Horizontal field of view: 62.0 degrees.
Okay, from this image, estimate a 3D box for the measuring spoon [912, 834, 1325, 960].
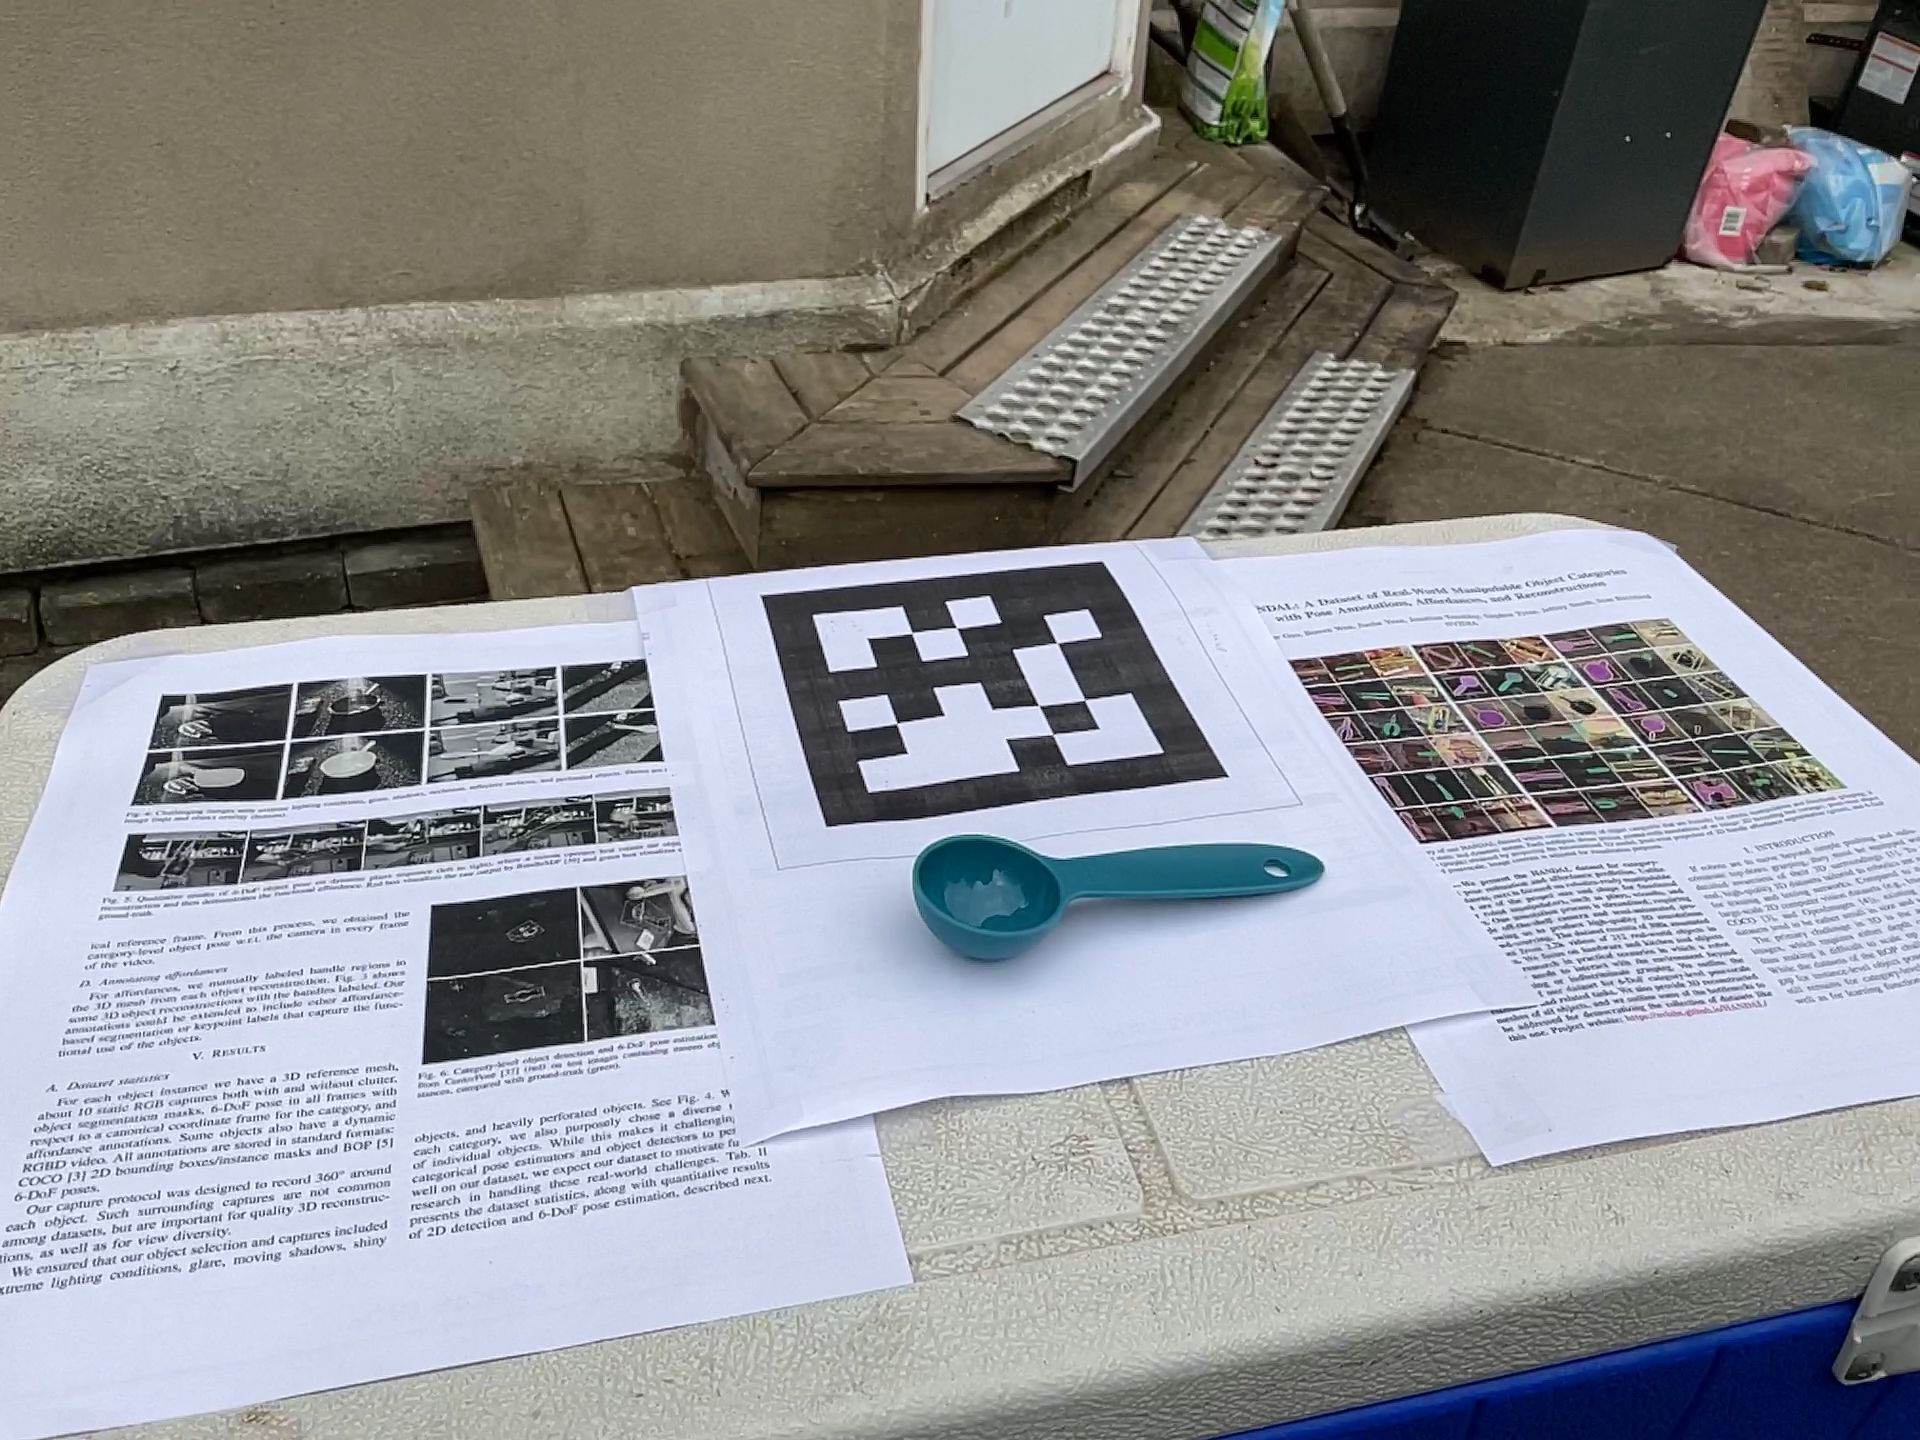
[{"bbox_3d":[0.046,0.051,0.454,0.128,0.021,0.042,-1,35,-22],"label":"measuring spoon"}]
